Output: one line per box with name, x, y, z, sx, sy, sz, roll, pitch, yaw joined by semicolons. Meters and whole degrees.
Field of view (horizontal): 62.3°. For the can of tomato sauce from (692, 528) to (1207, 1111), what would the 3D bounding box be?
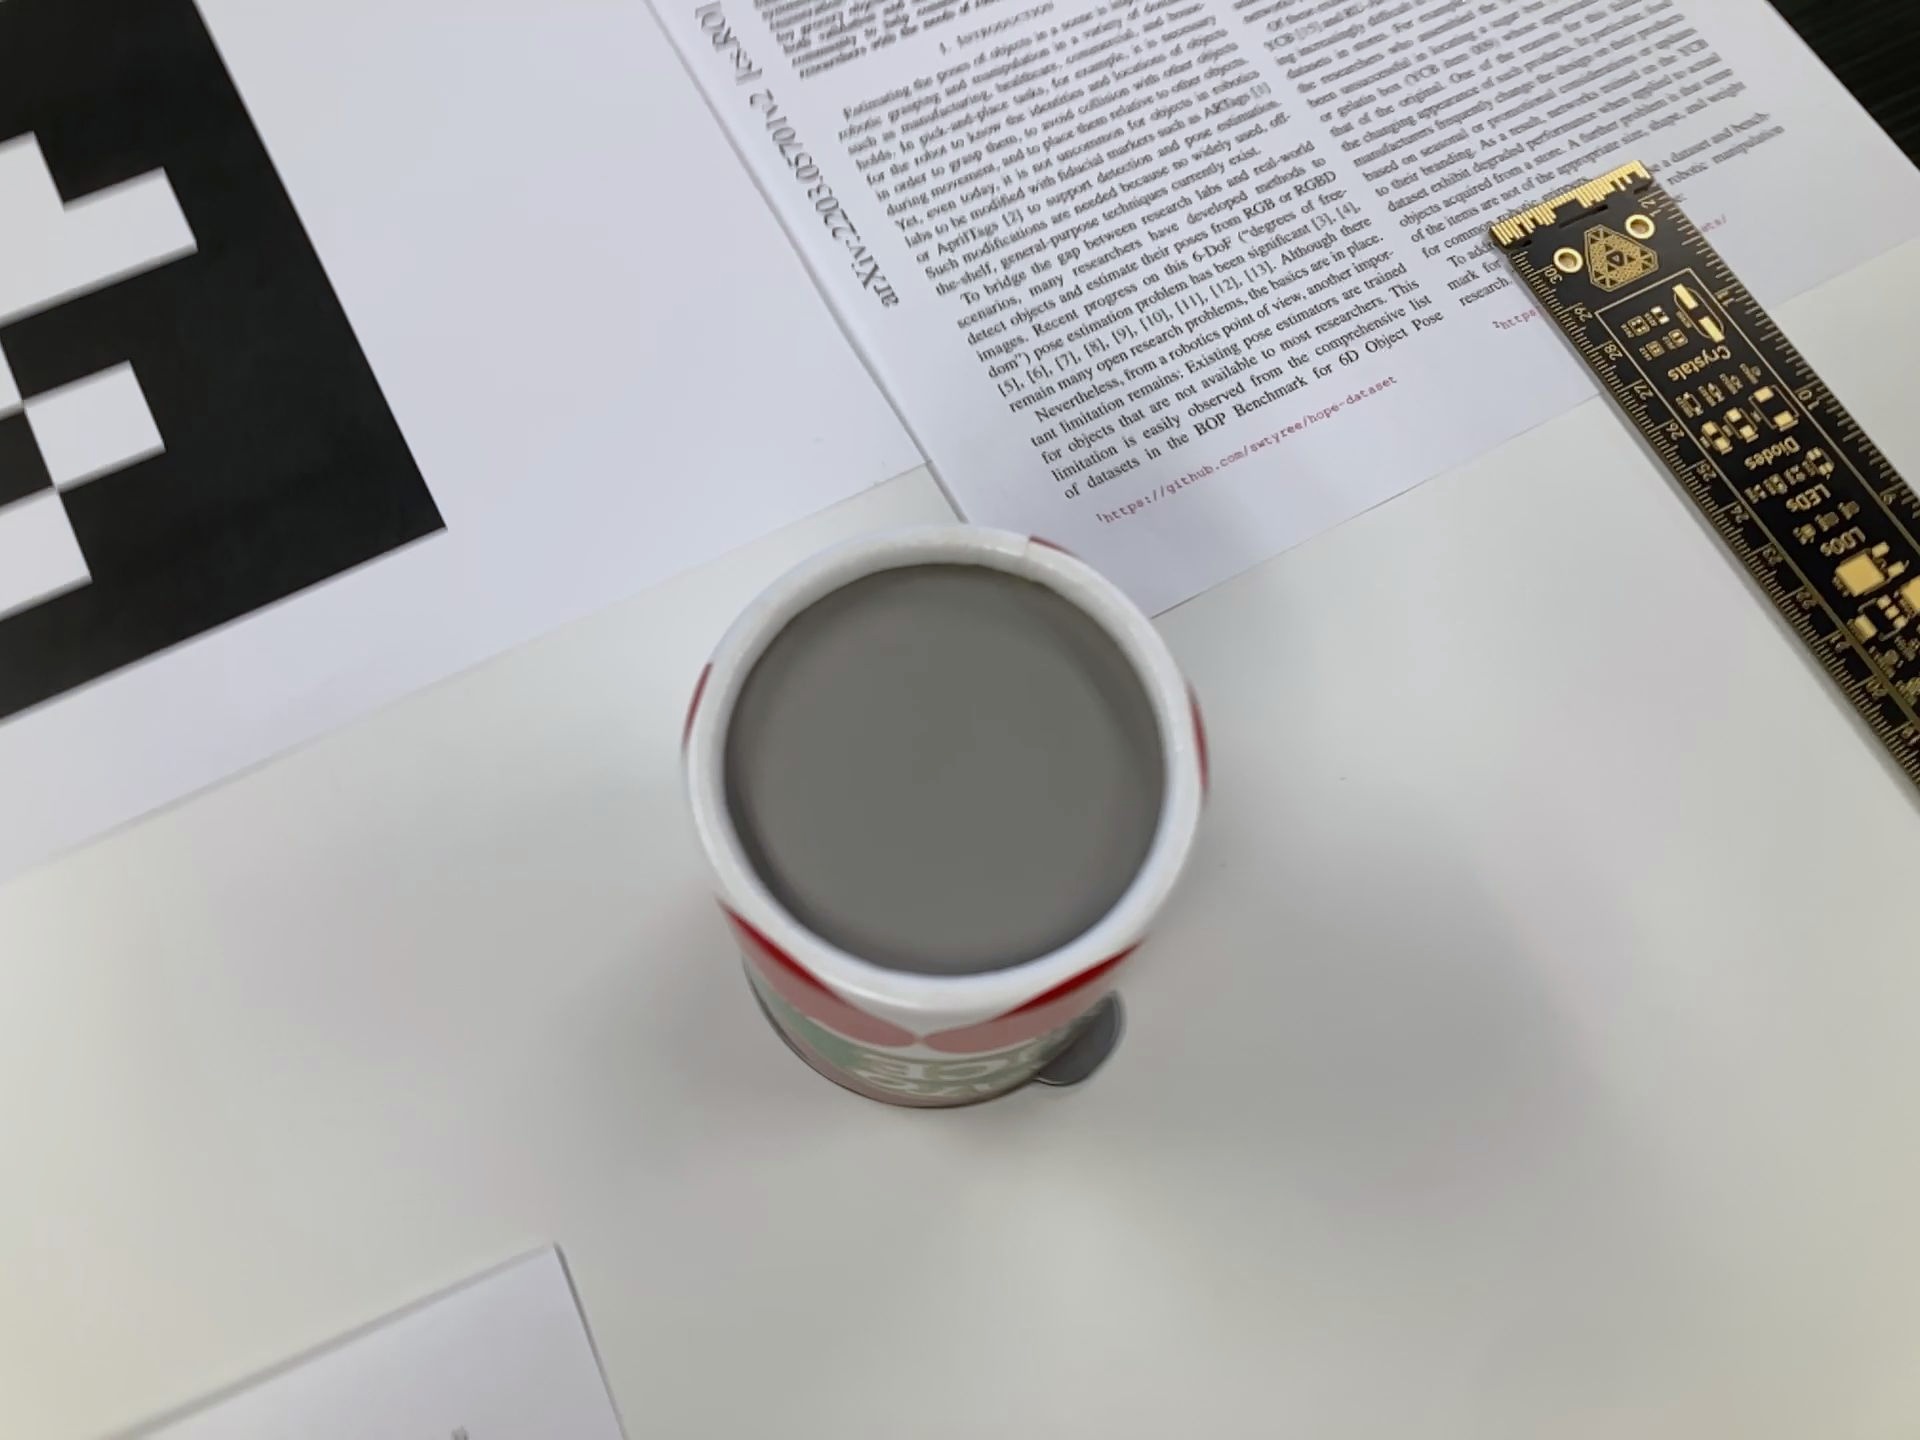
can of tomato sauce;-0.003;0.021;0.236;0.071;0.083;0.071;2;69;-4
